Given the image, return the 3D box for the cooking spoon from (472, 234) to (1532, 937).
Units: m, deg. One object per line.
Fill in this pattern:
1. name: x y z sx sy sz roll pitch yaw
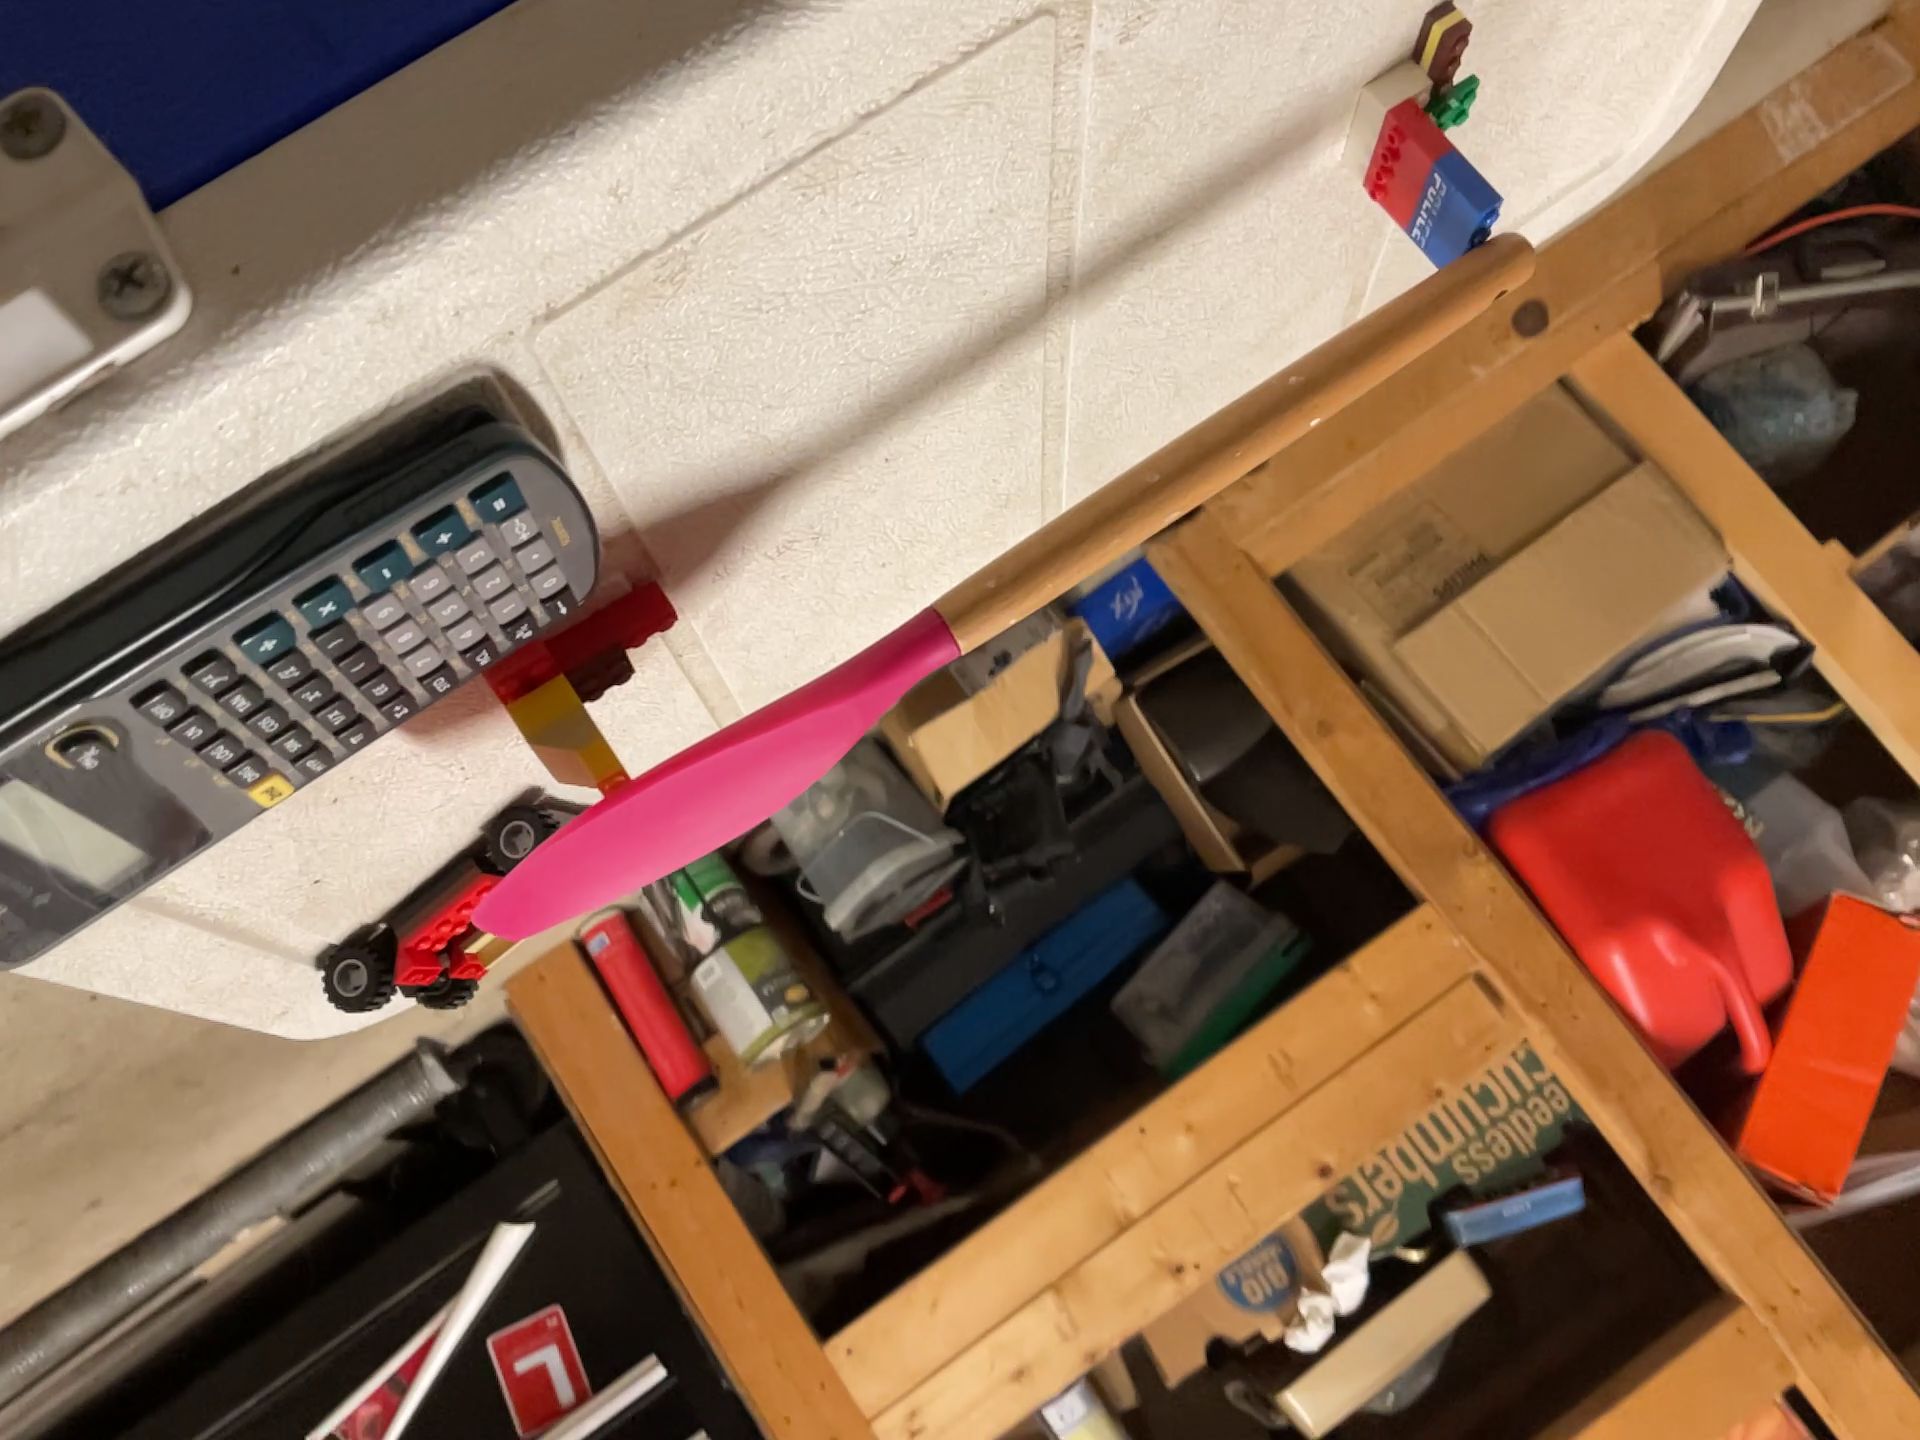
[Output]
1. cooking spoon: 0.017 -0.037 0.406 0.319 0.017 0.068 -33 165 -7
